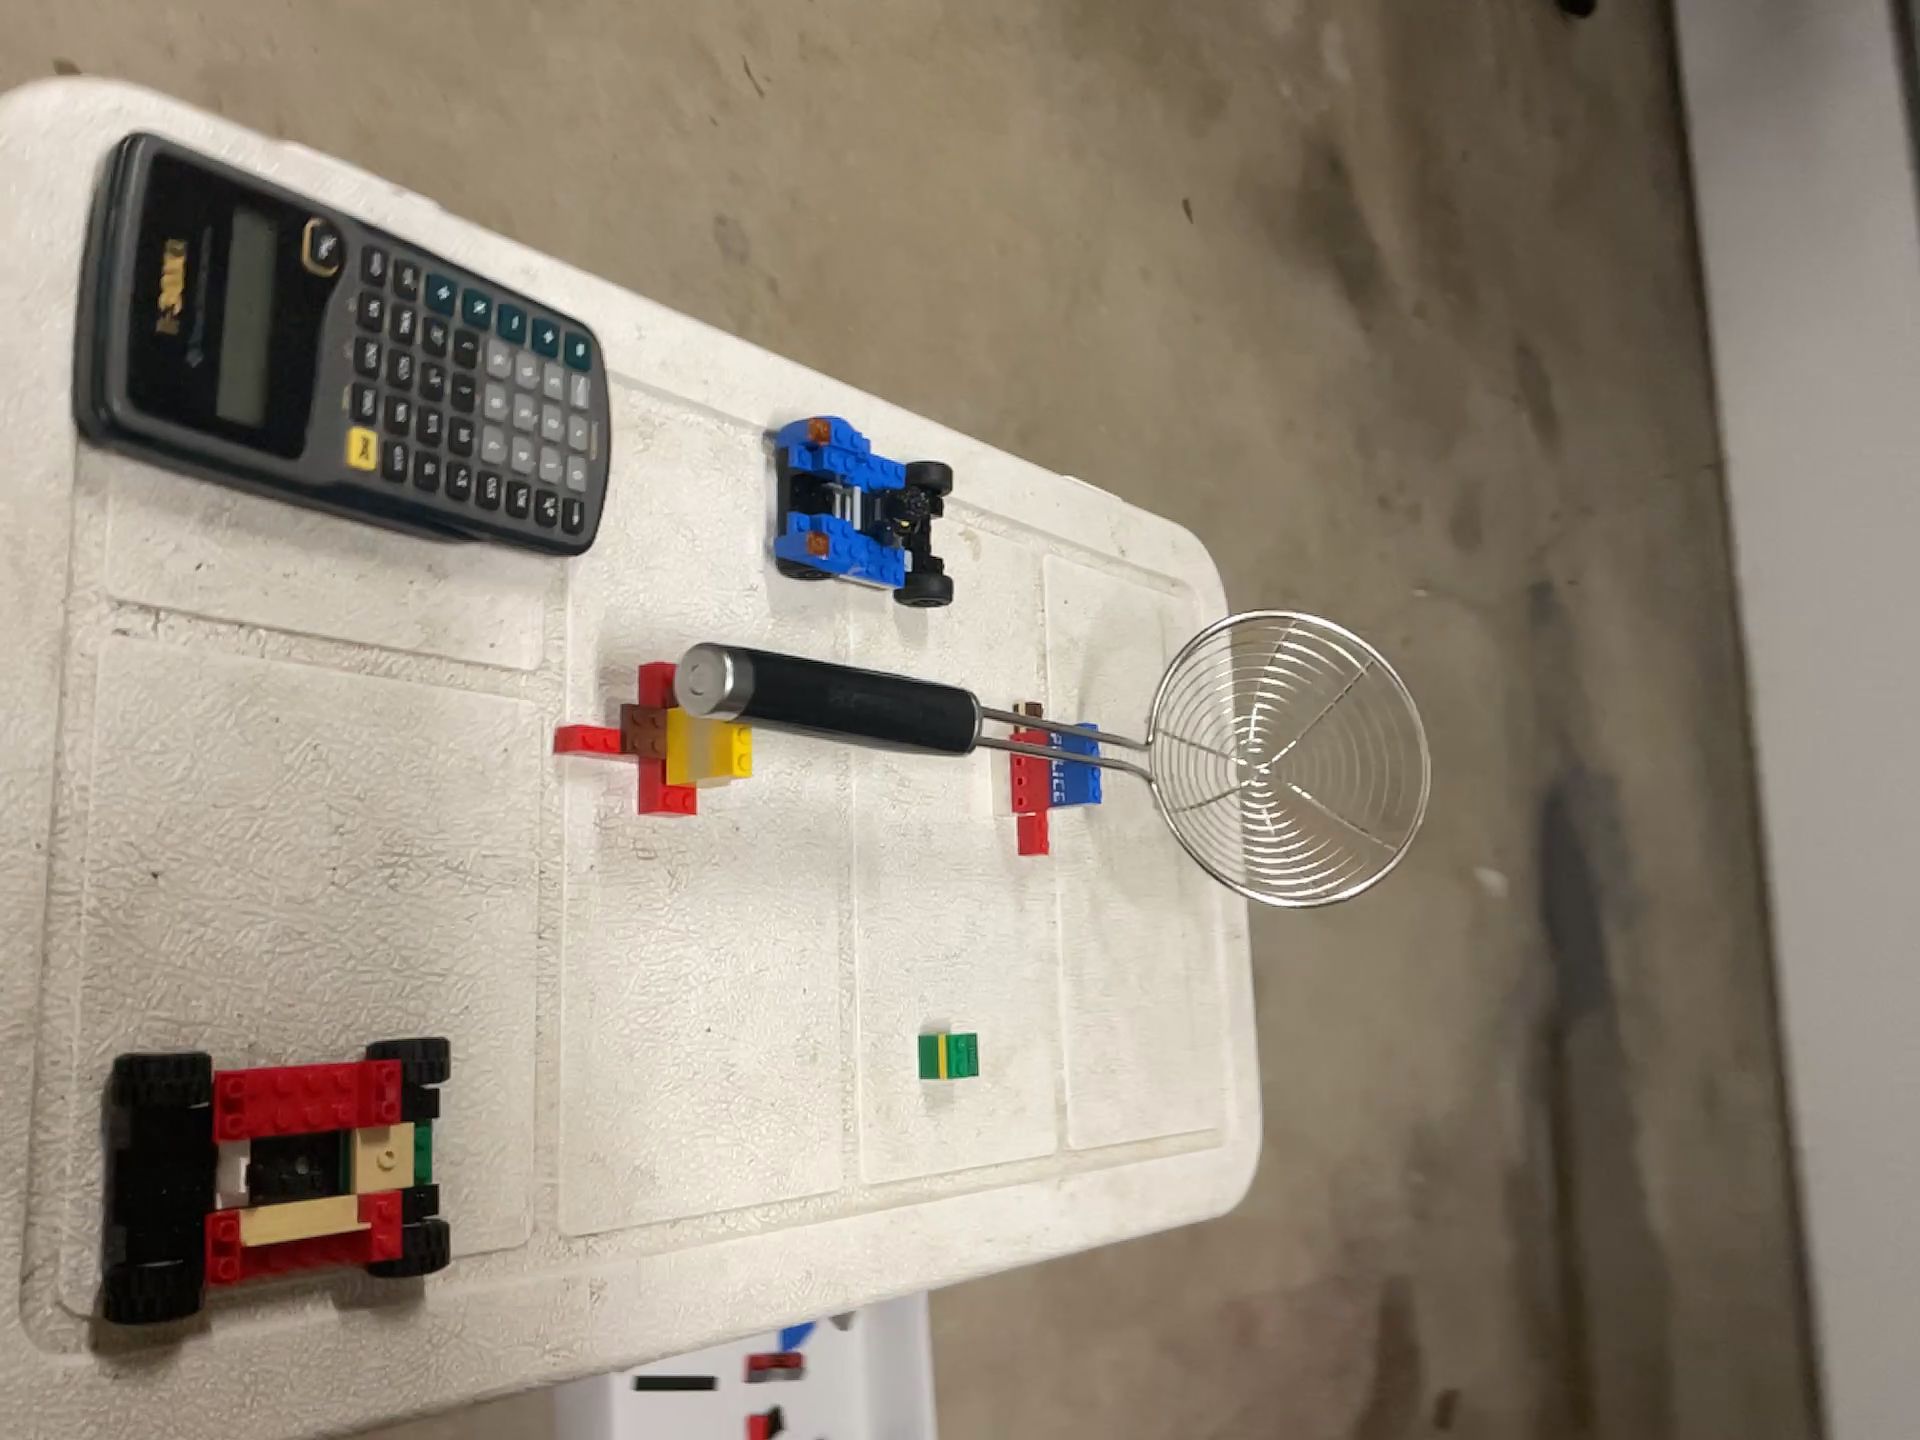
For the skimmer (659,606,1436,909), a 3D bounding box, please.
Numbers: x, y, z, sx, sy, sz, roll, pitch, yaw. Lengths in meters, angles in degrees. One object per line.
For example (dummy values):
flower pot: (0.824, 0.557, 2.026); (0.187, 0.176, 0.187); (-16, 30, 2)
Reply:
skimmer: (0.057, 0.001, 0.559); (0.363, 0.090, 0.127); (10, 72, -52)
